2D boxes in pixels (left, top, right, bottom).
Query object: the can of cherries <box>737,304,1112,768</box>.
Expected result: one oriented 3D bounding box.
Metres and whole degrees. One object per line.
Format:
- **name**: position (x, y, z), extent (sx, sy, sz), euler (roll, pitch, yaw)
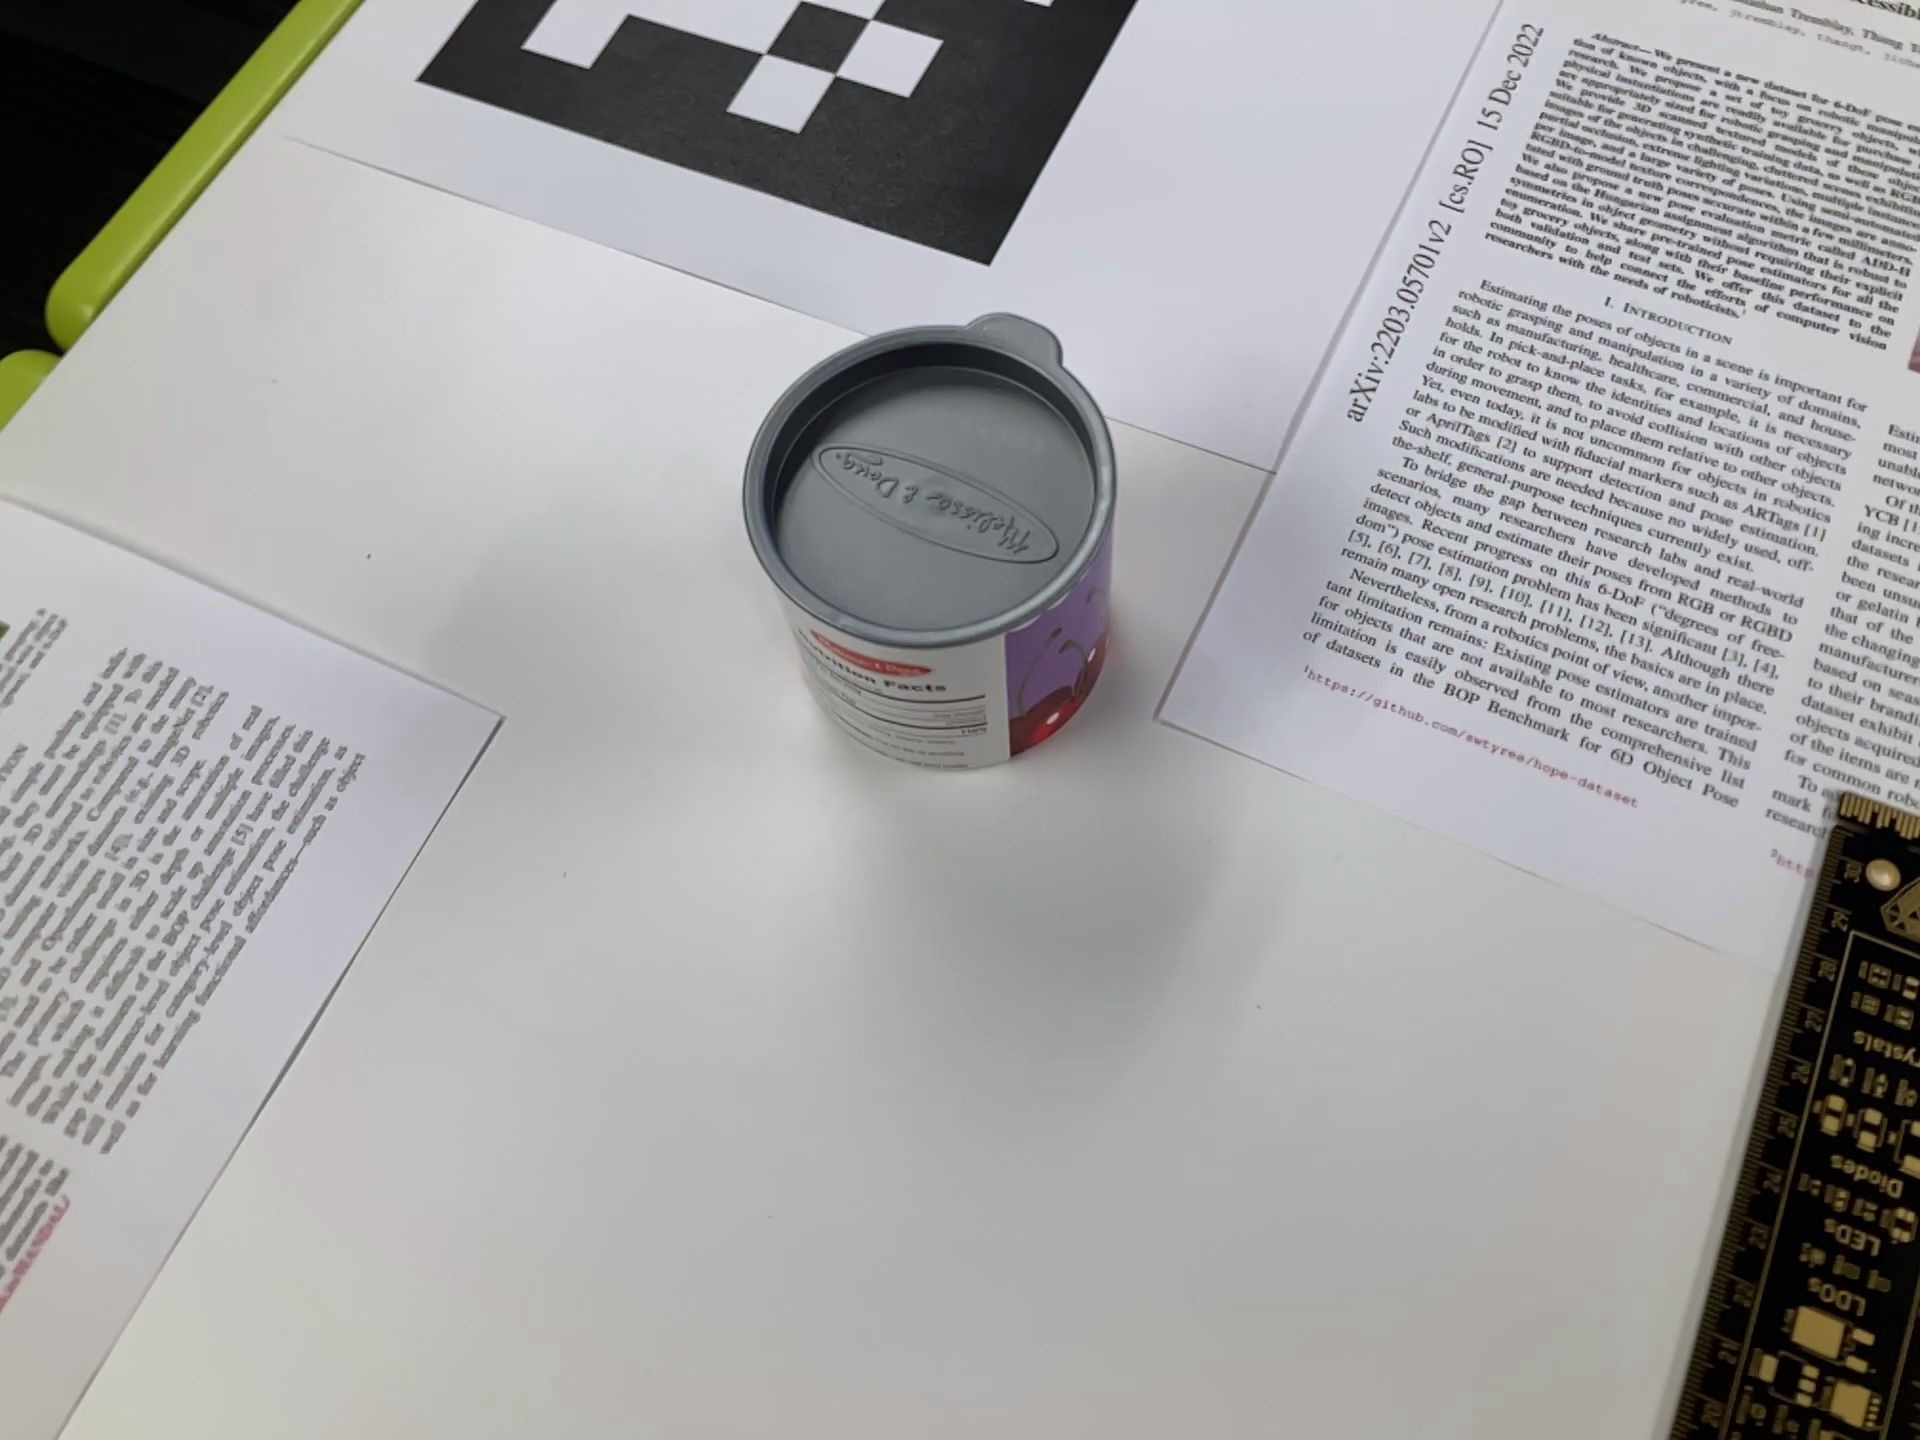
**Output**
- **can of cherries**: position (-0.003, -0.034, 0.304), extent (0.071, 0.058, 0.071), euler (-2, 65, 4)
